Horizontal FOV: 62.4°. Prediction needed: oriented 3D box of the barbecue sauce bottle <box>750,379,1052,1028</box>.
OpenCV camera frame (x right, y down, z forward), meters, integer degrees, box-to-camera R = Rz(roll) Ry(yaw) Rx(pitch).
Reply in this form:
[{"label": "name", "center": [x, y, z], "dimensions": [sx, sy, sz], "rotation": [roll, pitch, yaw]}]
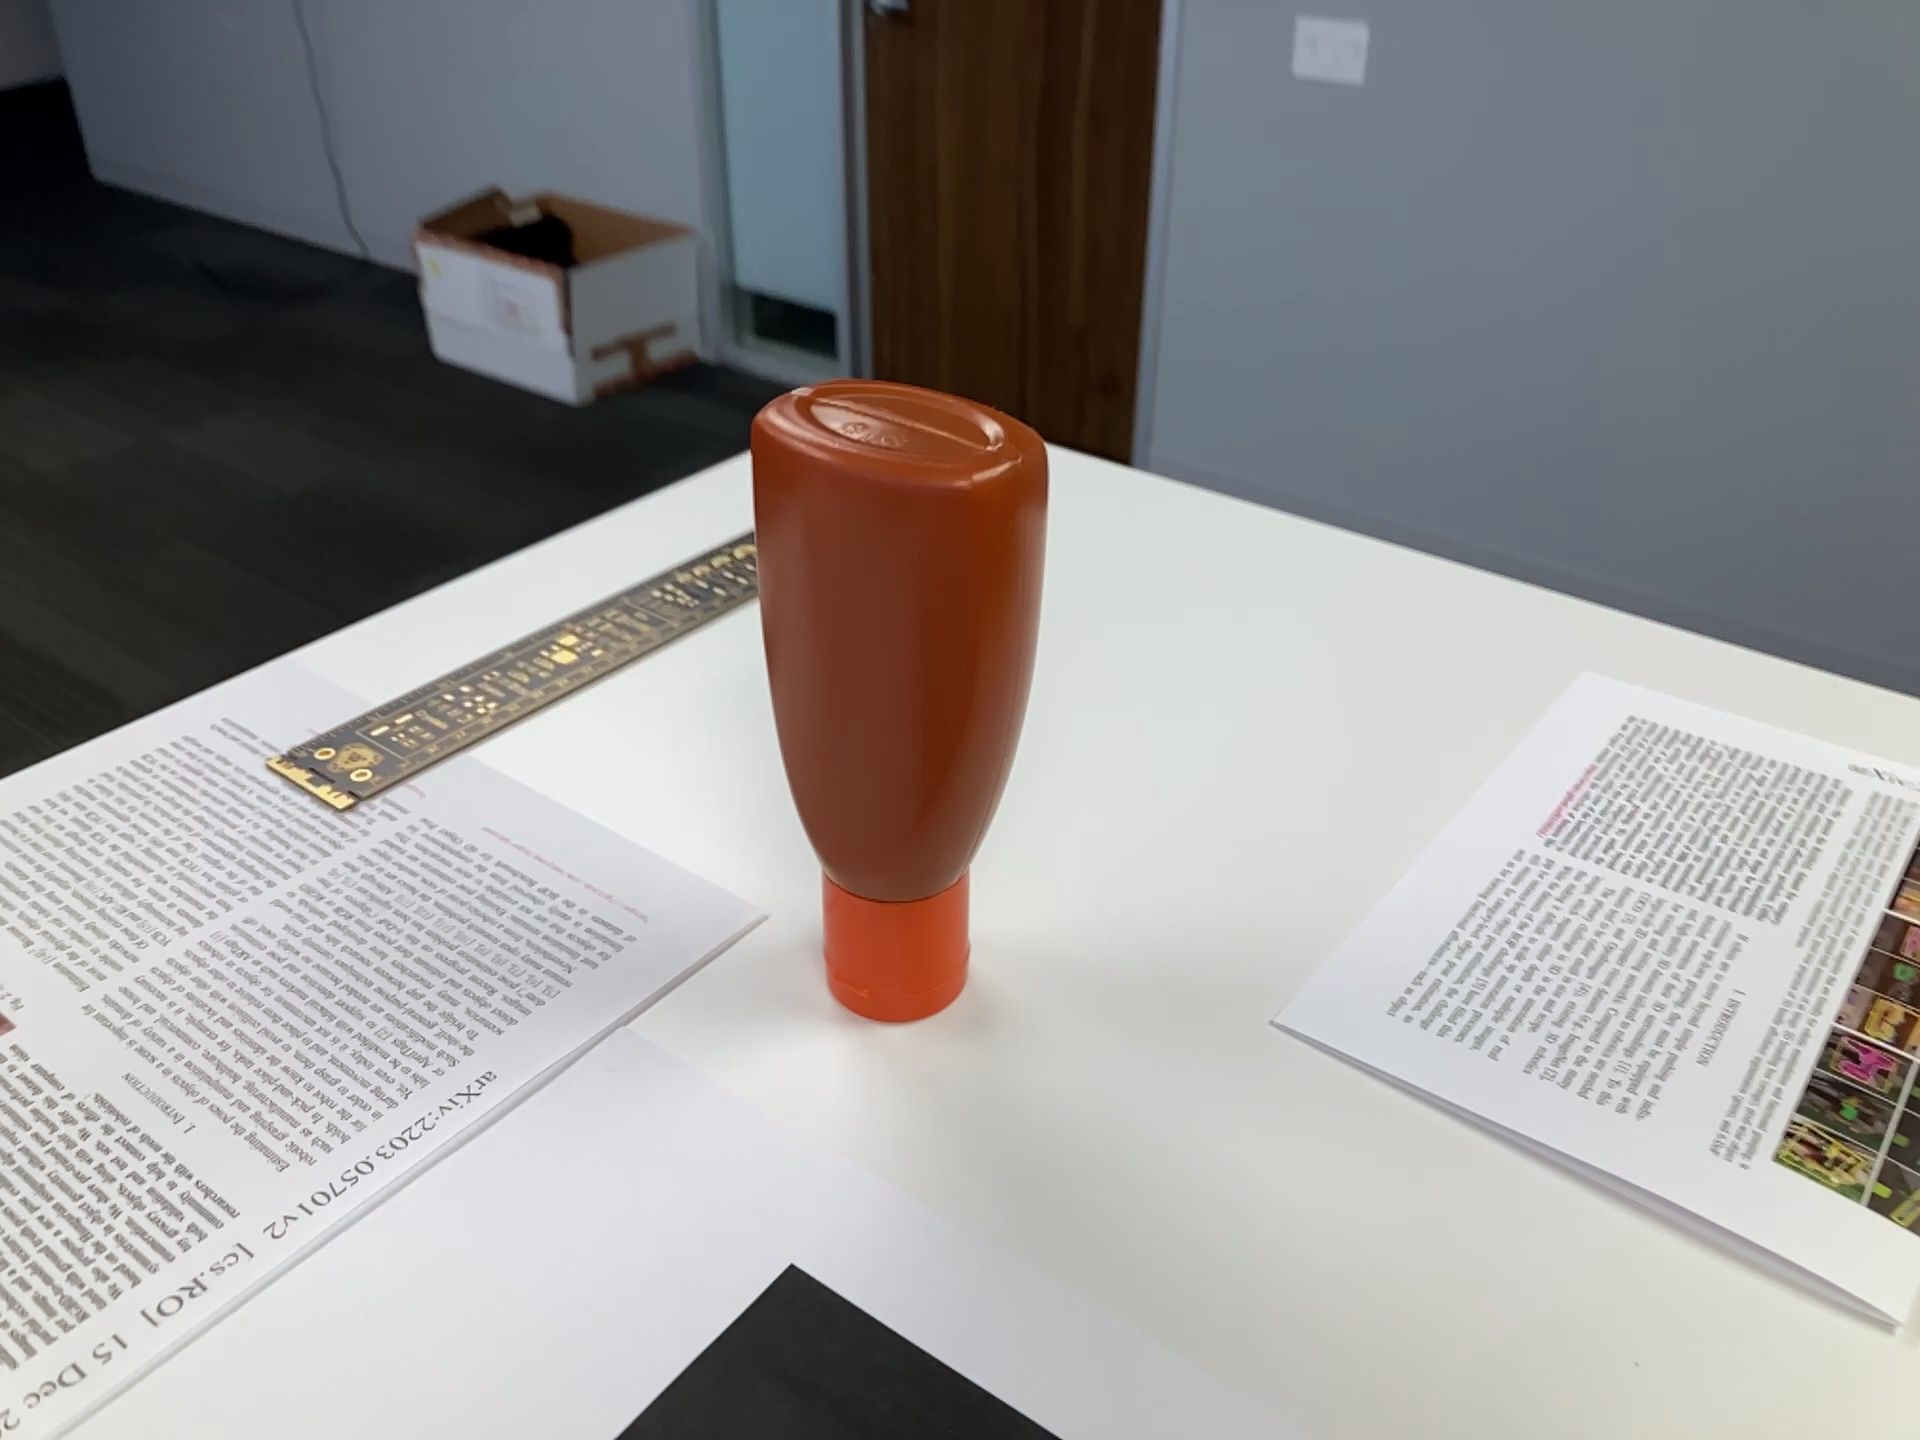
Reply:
[{"label": "barbecue sauce bottle", "center": [-0.014, 0.003, 0.358], "dimensions": [0.065, 0.148, 0.043], "rotation": [21, 36, 29]}]
